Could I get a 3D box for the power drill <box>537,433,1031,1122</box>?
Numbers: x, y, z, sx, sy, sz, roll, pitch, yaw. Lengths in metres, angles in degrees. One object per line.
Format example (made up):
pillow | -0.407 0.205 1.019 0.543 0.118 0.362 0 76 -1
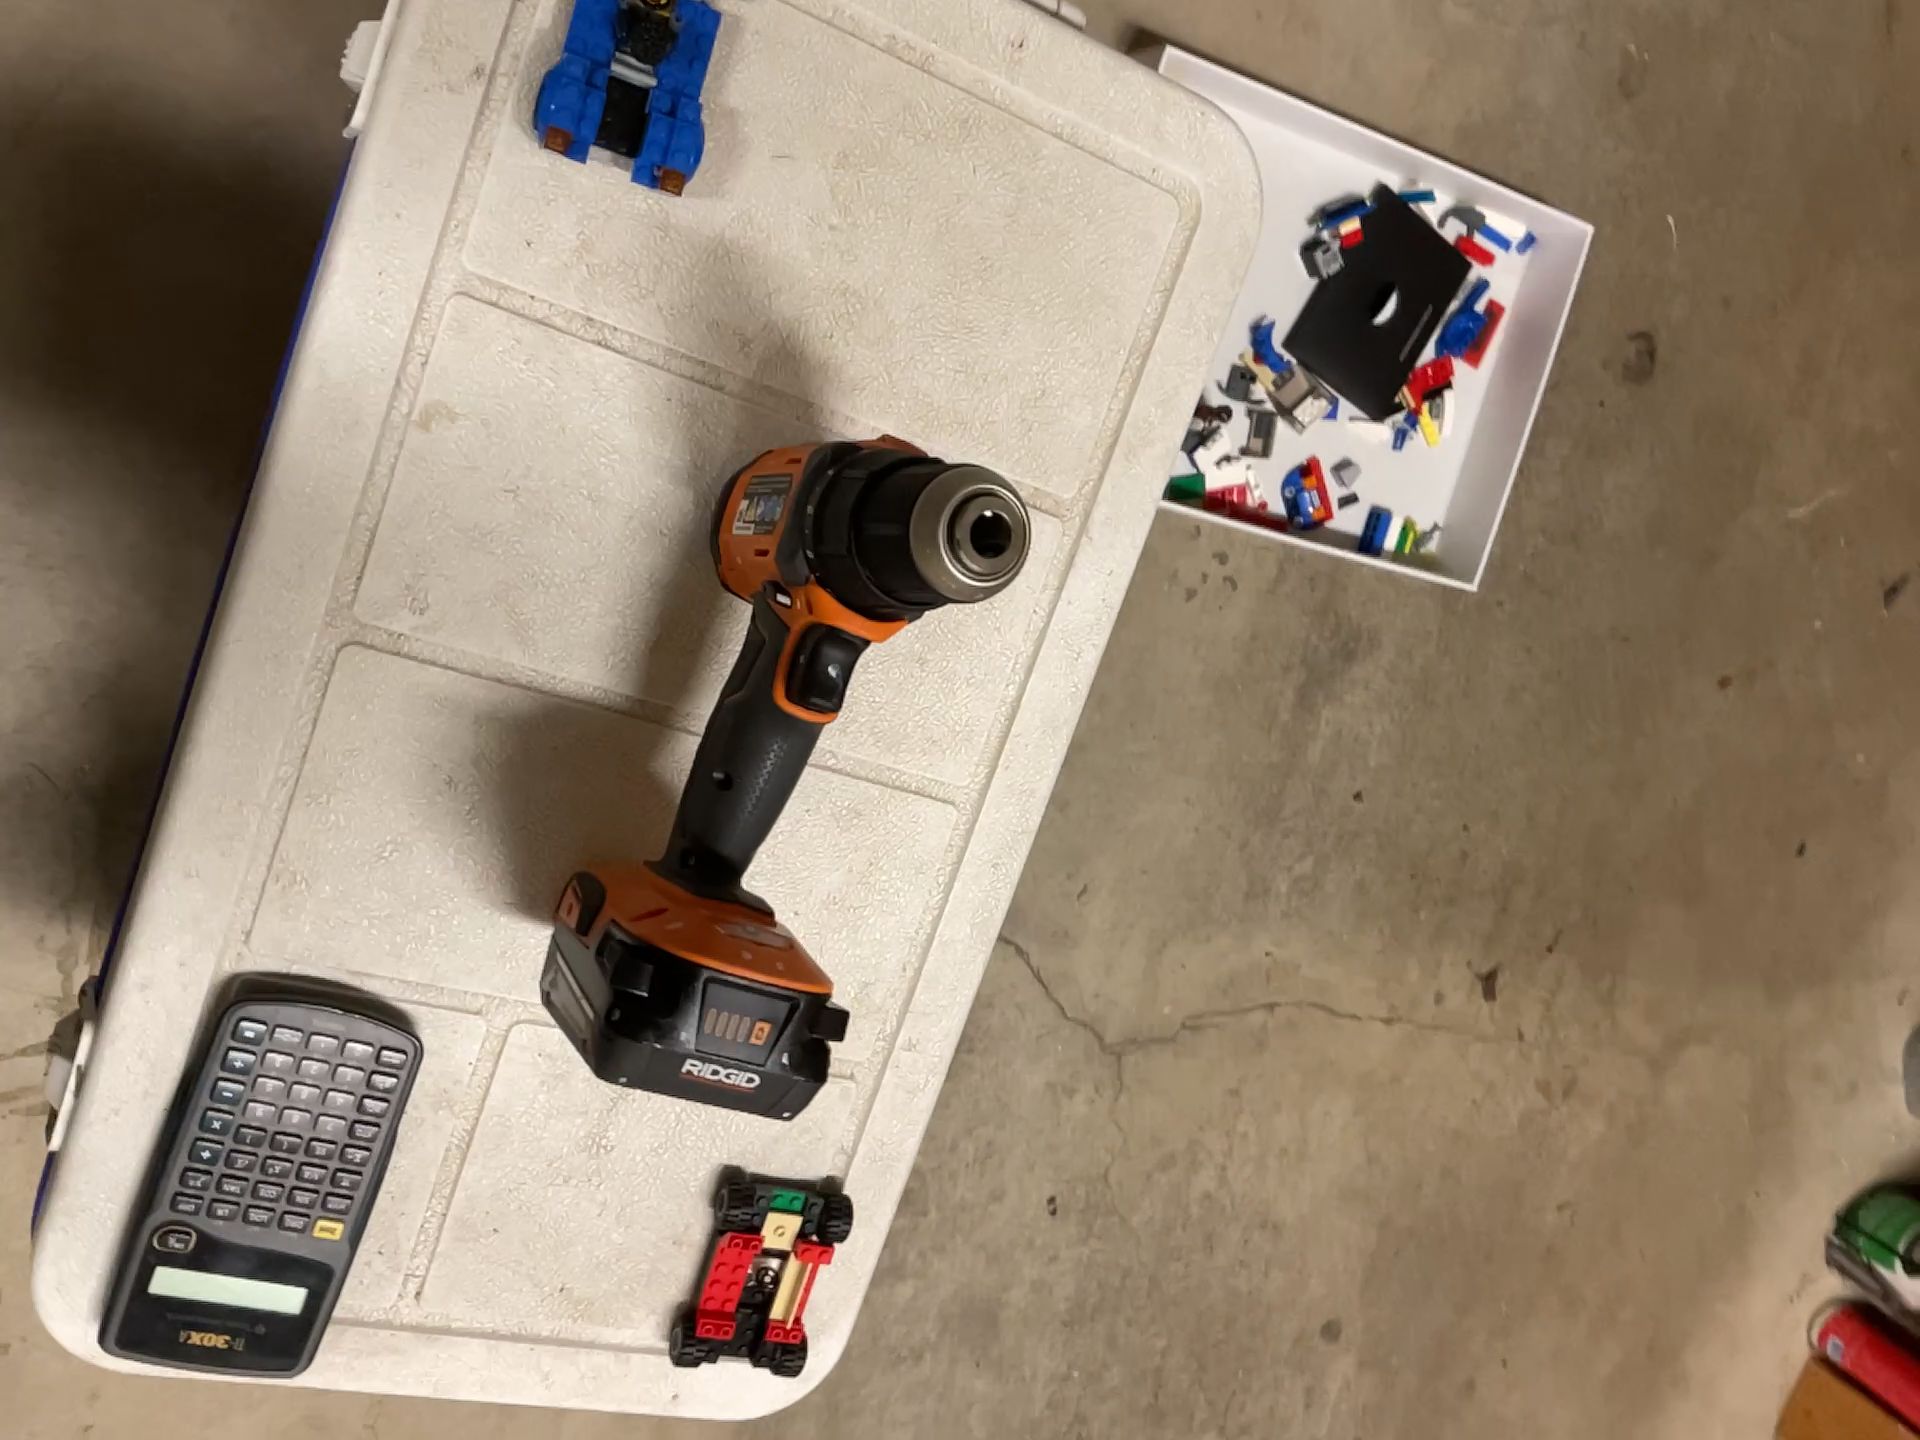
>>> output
power drill | -0.057 0.012 0.534 0.084 0.185 0.226 20 86 -27
